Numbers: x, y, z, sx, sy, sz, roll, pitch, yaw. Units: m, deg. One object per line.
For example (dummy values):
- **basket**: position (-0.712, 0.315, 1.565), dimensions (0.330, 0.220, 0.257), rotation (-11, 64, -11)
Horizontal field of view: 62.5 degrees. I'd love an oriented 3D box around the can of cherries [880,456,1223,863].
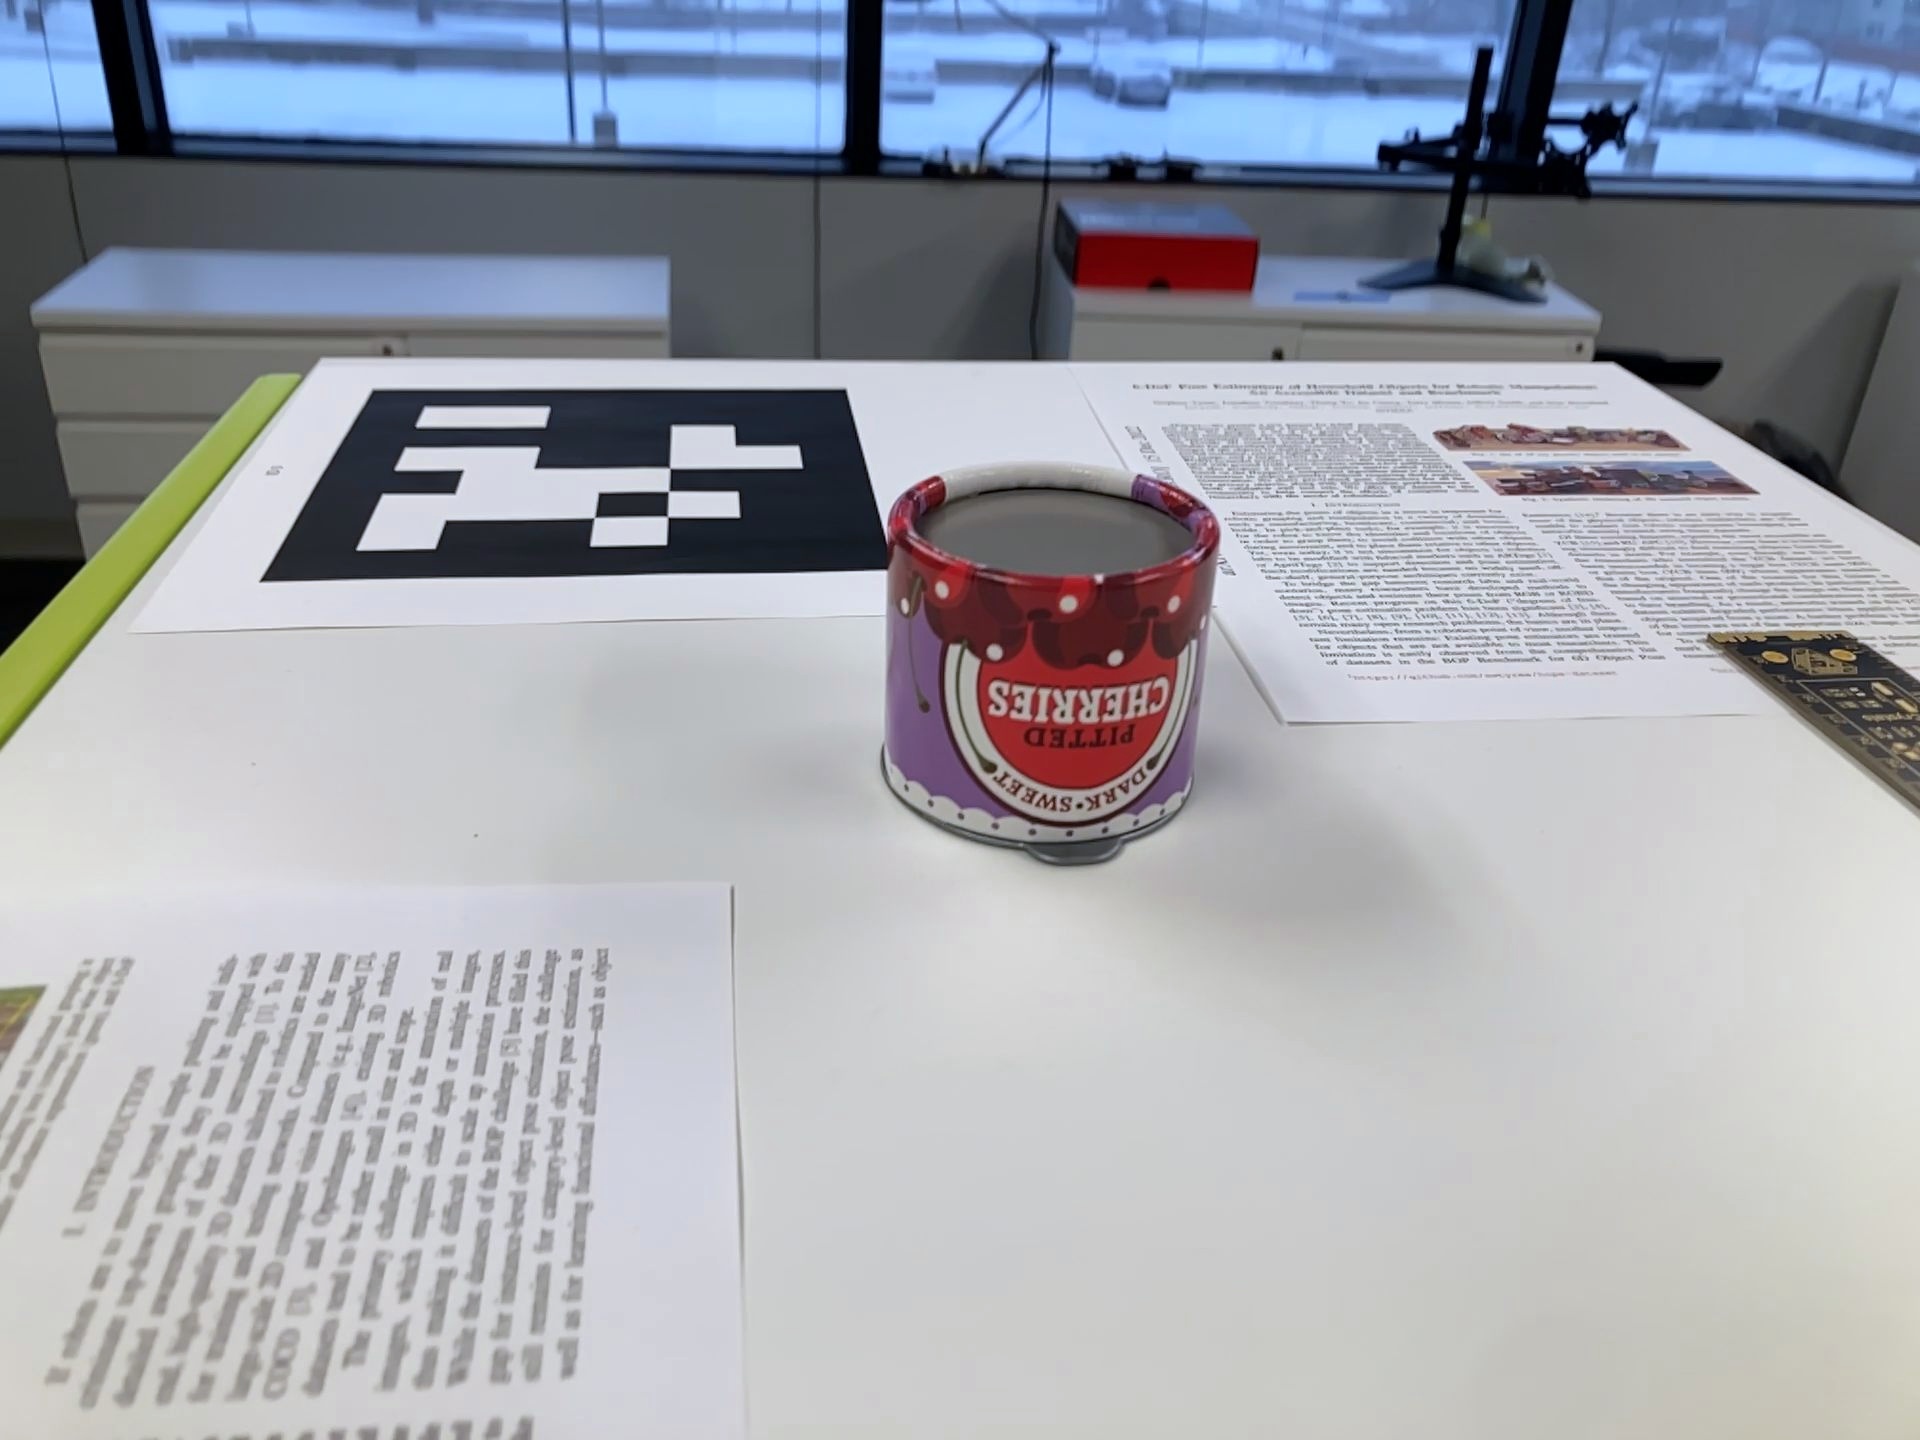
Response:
- **can of cherries**: position (0.018, -0.015, 0.319), dimensions (0.071, 0.058, 0.071), rotation (2, 29, -1)
